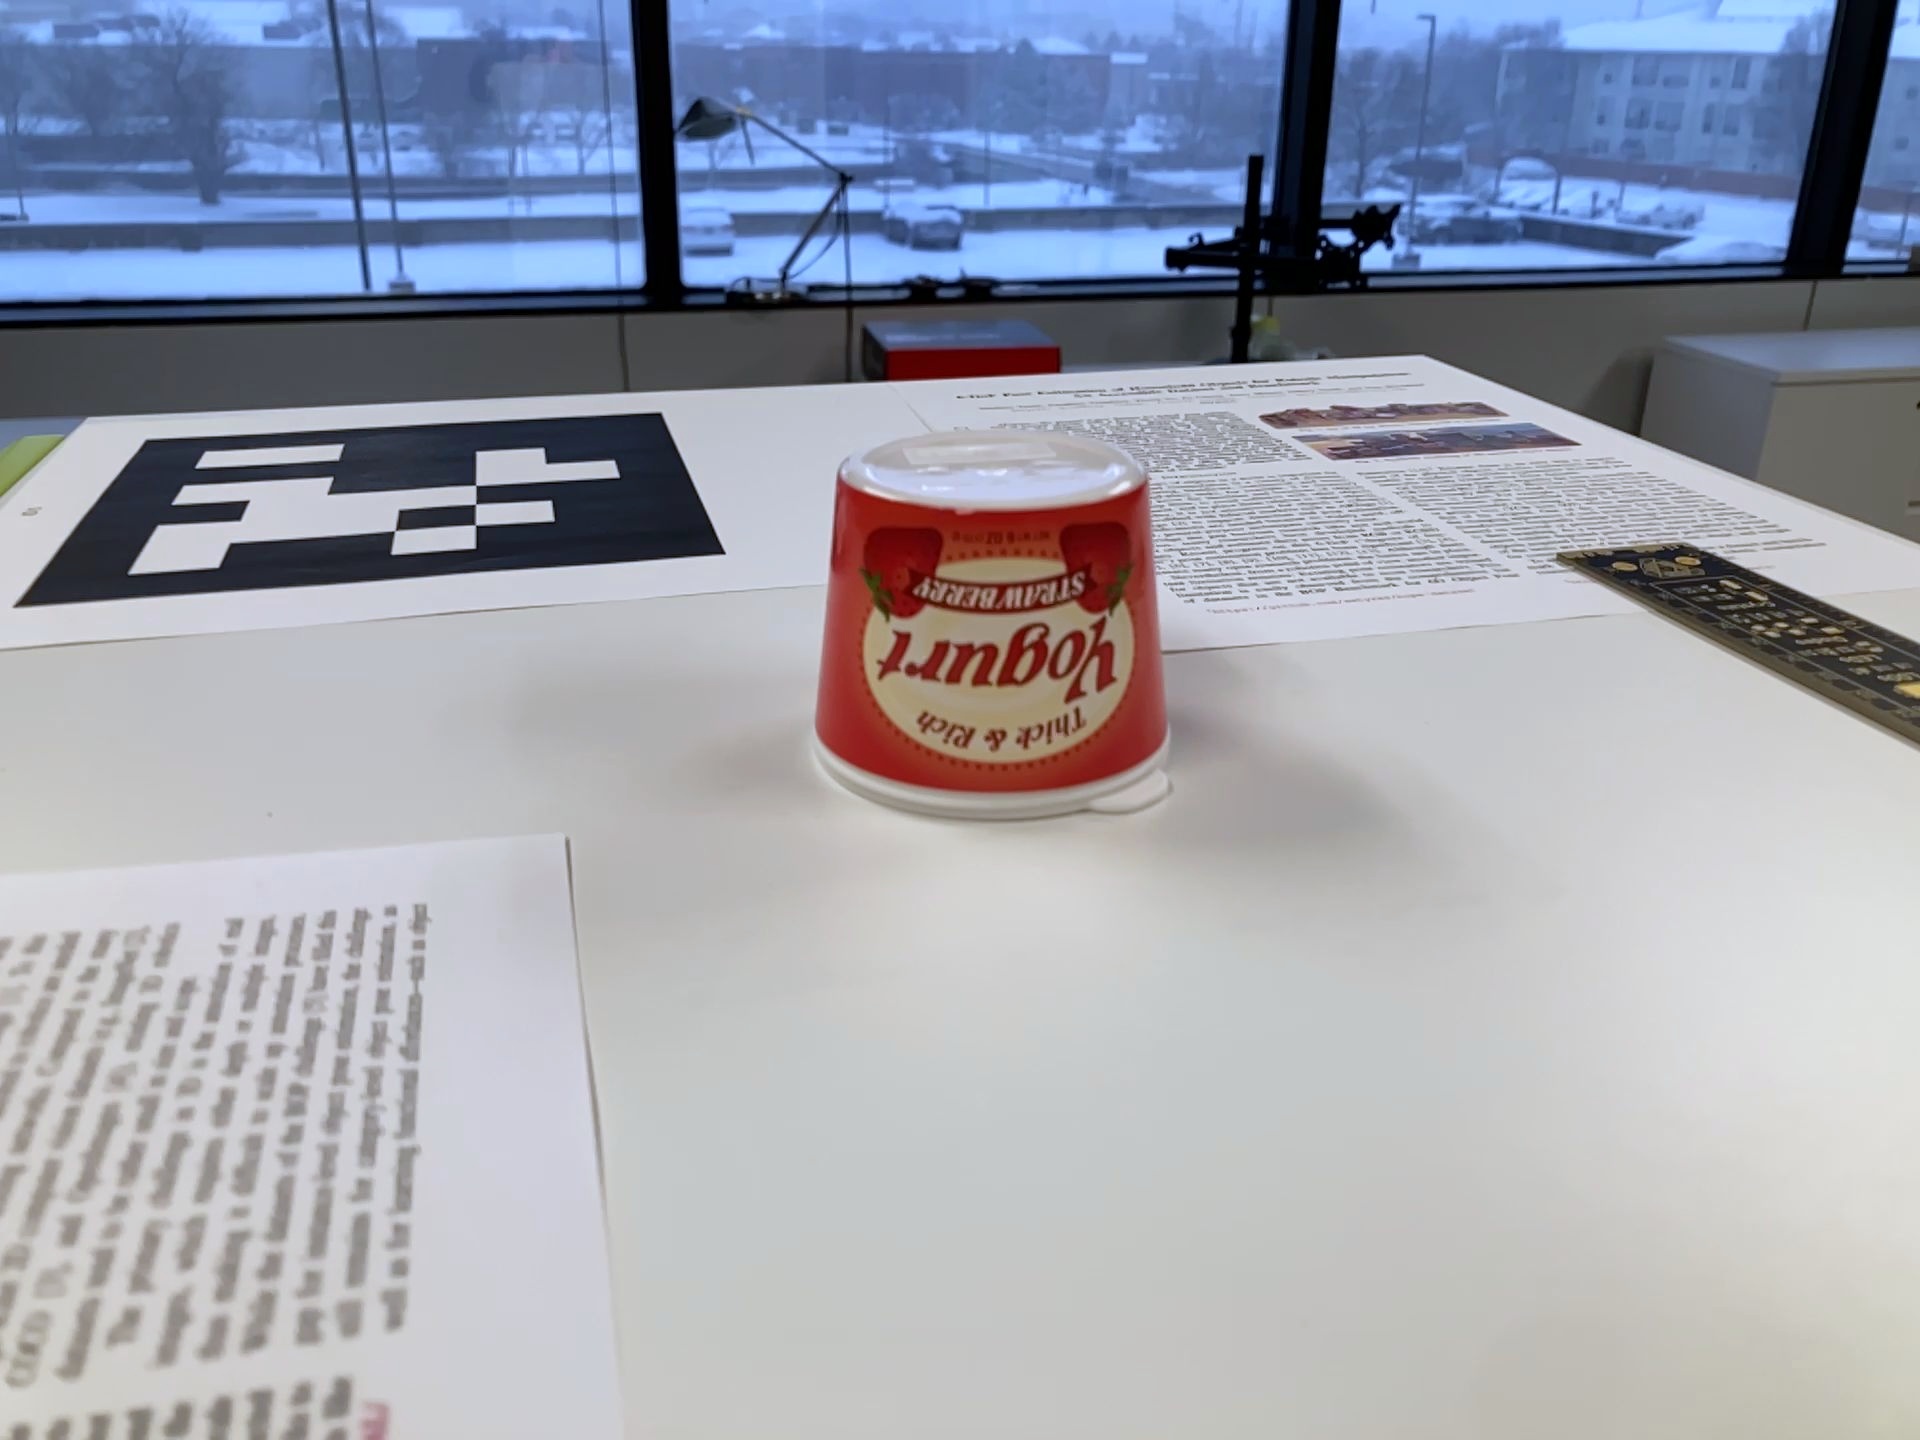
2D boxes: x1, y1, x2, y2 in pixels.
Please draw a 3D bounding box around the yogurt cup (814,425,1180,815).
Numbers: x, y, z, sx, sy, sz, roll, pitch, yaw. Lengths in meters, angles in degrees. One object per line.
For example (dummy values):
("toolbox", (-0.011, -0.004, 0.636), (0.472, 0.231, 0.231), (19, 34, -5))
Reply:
("yogurt cup", (0.006, -0.021, 0.287), (0.072, 0.054, 0.072), (-1, 23, 0))
